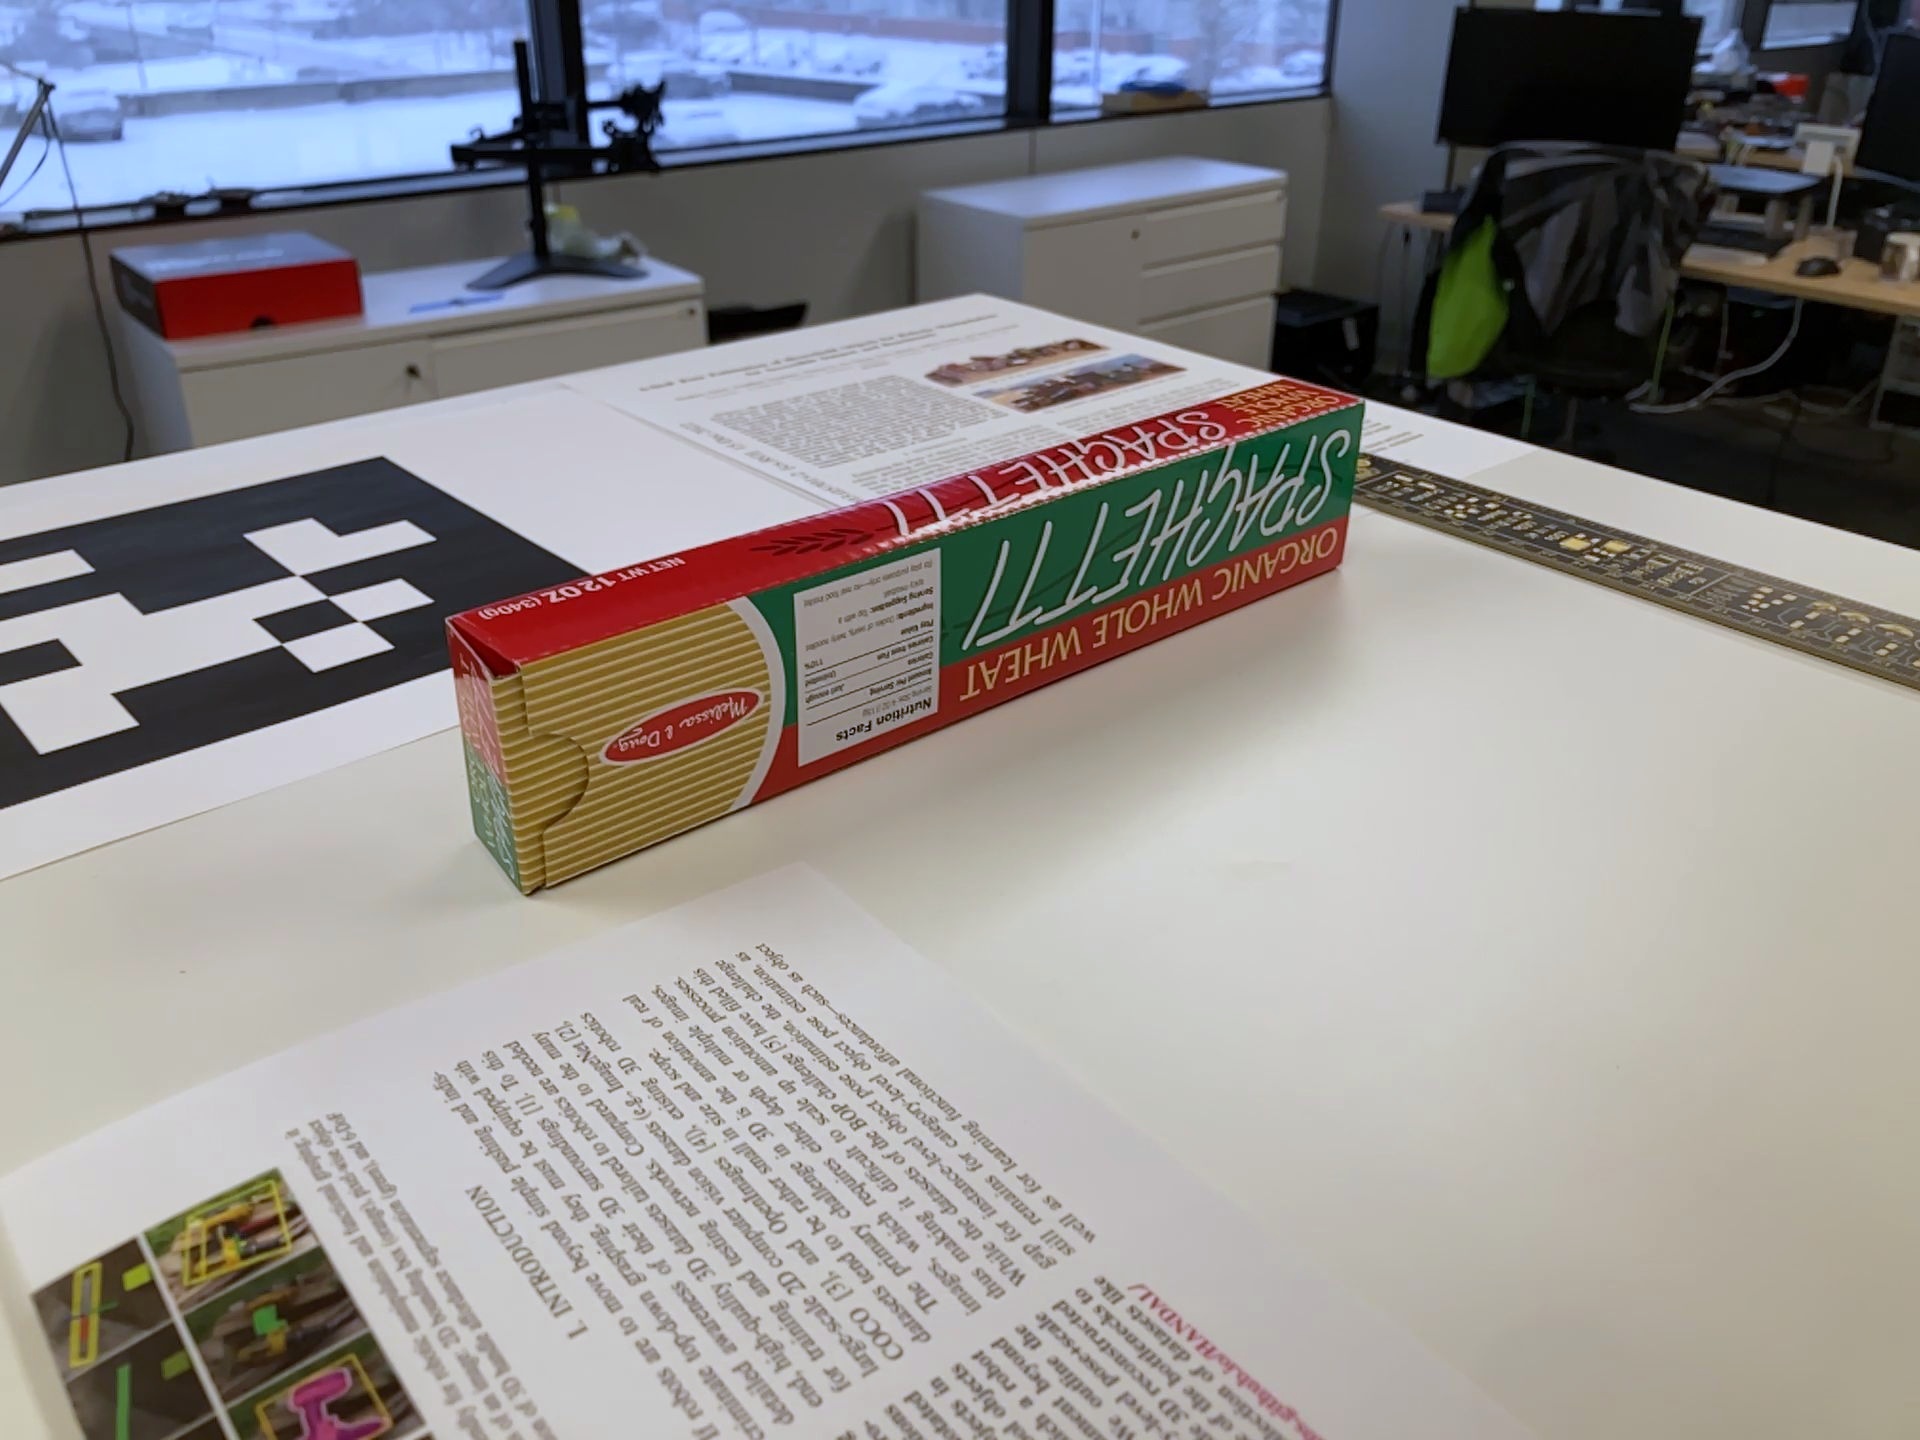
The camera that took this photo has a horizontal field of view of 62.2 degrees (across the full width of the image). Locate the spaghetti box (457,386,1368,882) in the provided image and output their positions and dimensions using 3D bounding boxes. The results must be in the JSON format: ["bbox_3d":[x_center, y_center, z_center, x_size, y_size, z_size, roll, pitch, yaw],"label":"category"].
[{"bbox_3d":[0.007,-0.031,0.371,0.250,0.050,0.028,-22,37,-36],"label":"spaghetti box"}]
